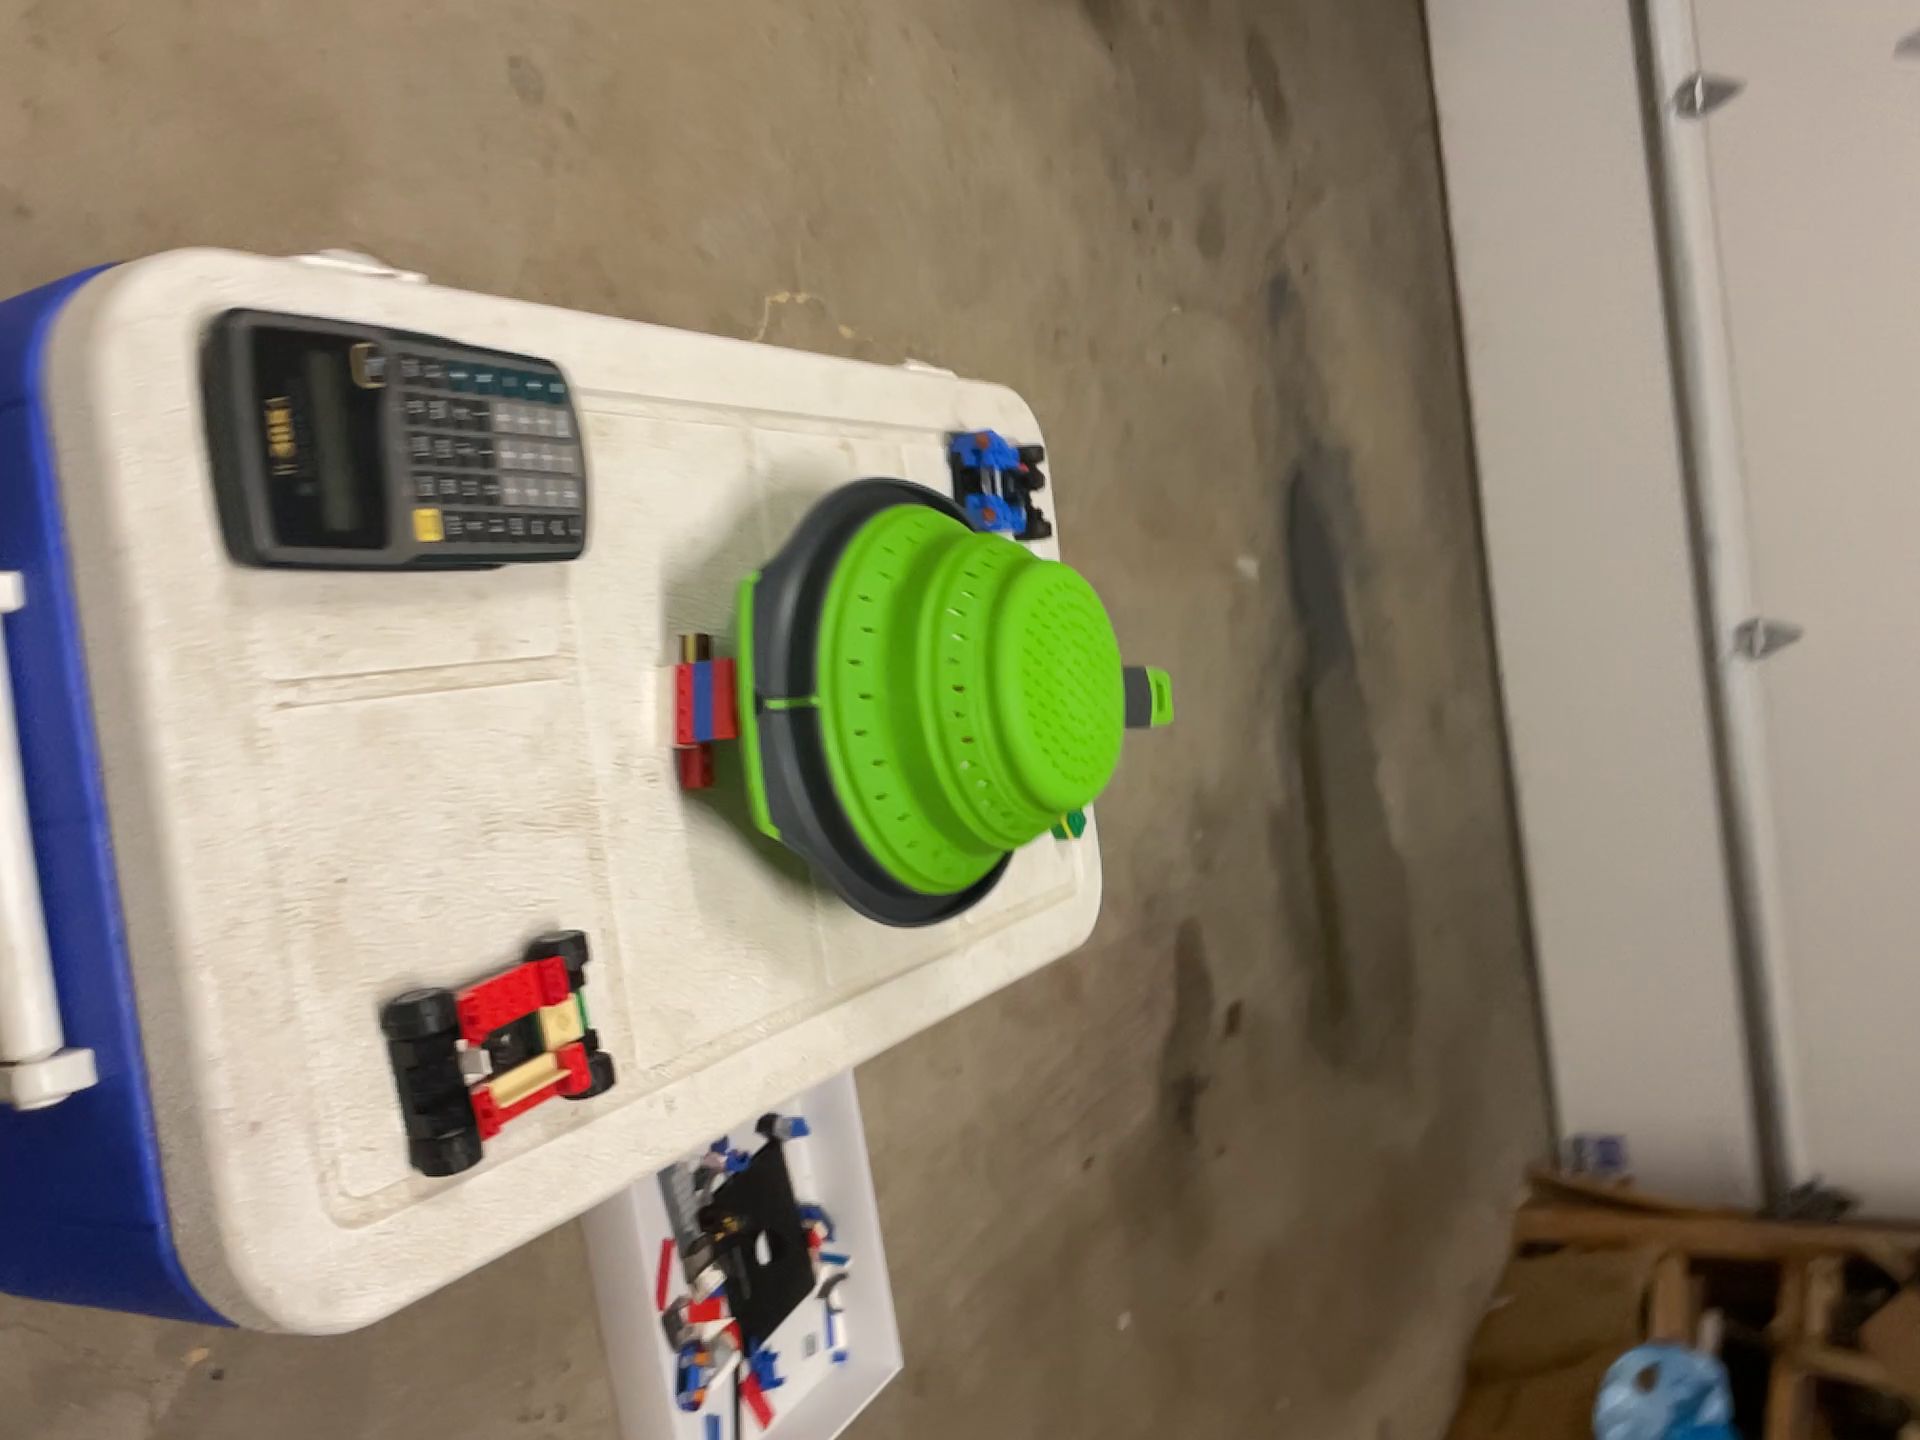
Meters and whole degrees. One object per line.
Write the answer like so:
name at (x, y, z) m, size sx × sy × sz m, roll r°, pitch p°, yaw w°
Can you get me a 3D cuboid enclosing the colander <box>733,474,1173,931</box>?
colander at (0.051, -0.013, 0.766) m, size 0.397 × 0.094 × 0.204 m, roll -2°, pitch 87°, yaw -59°
